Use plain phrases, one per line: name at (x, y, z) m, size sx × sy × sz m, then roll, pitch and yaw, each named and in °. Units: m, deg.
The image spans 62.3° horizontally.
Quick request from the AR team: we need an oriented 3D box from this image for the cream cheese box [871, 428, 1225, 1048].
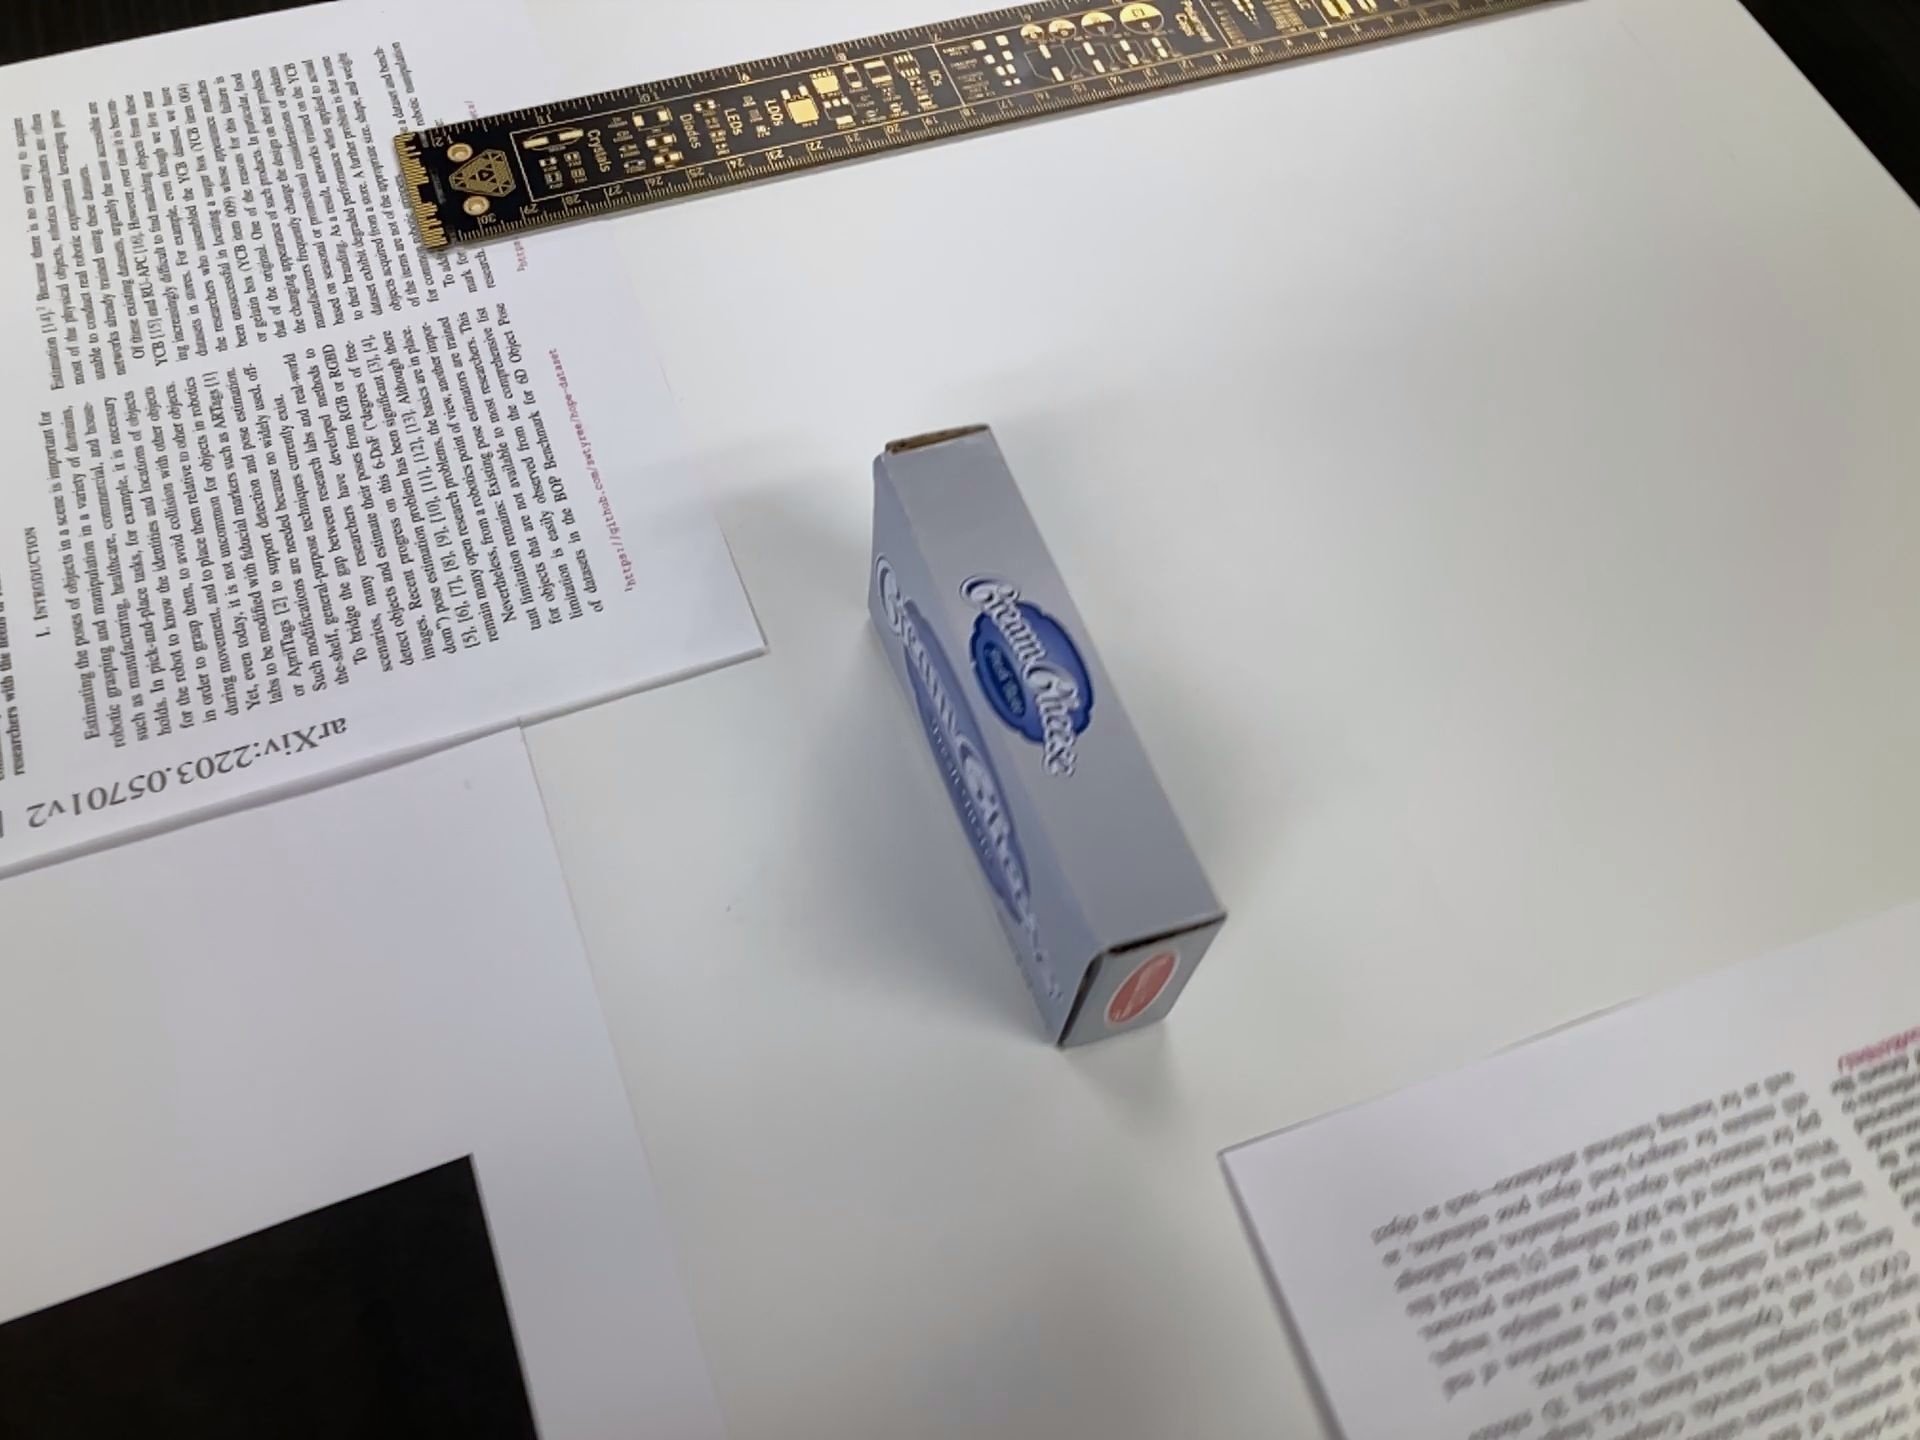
cream cheese box at (0.011, 0.003, 0.291) m, size 0.024 × 0.053 × 0.104 m, roll -16°, pitch 64°, yaw -14°
